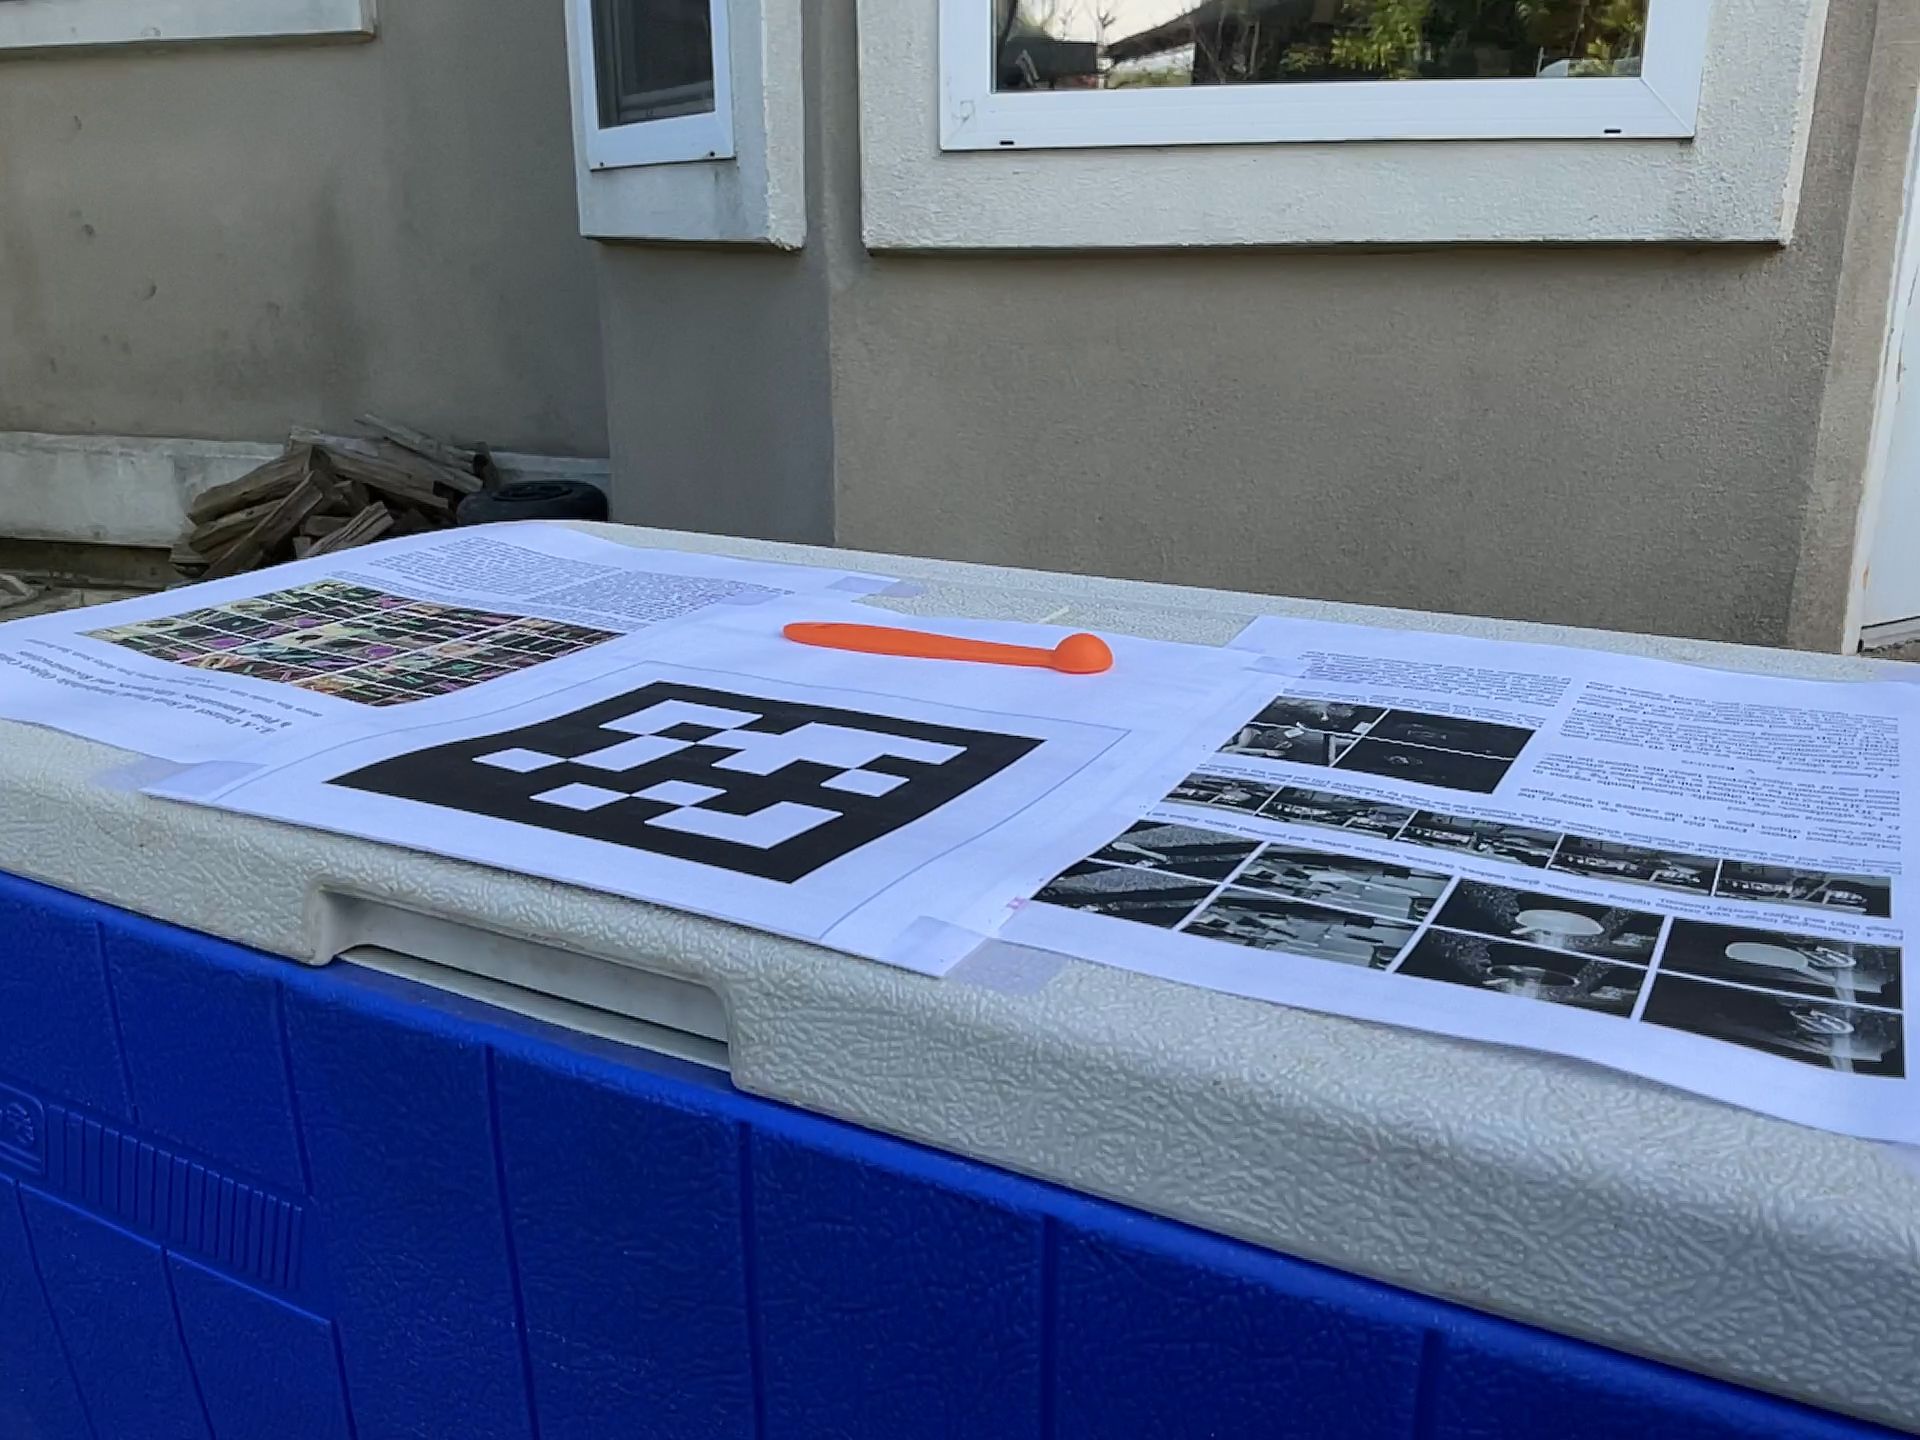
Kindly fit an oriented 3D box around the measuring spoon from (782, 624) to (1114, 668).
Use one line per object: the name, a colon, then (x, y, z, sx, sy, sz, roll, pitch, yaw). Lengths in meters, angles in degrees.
measuring spoon: (-0.006, -0.027, 0.519, 0.117, 0.011, 0.021, 6, 13, 23)
